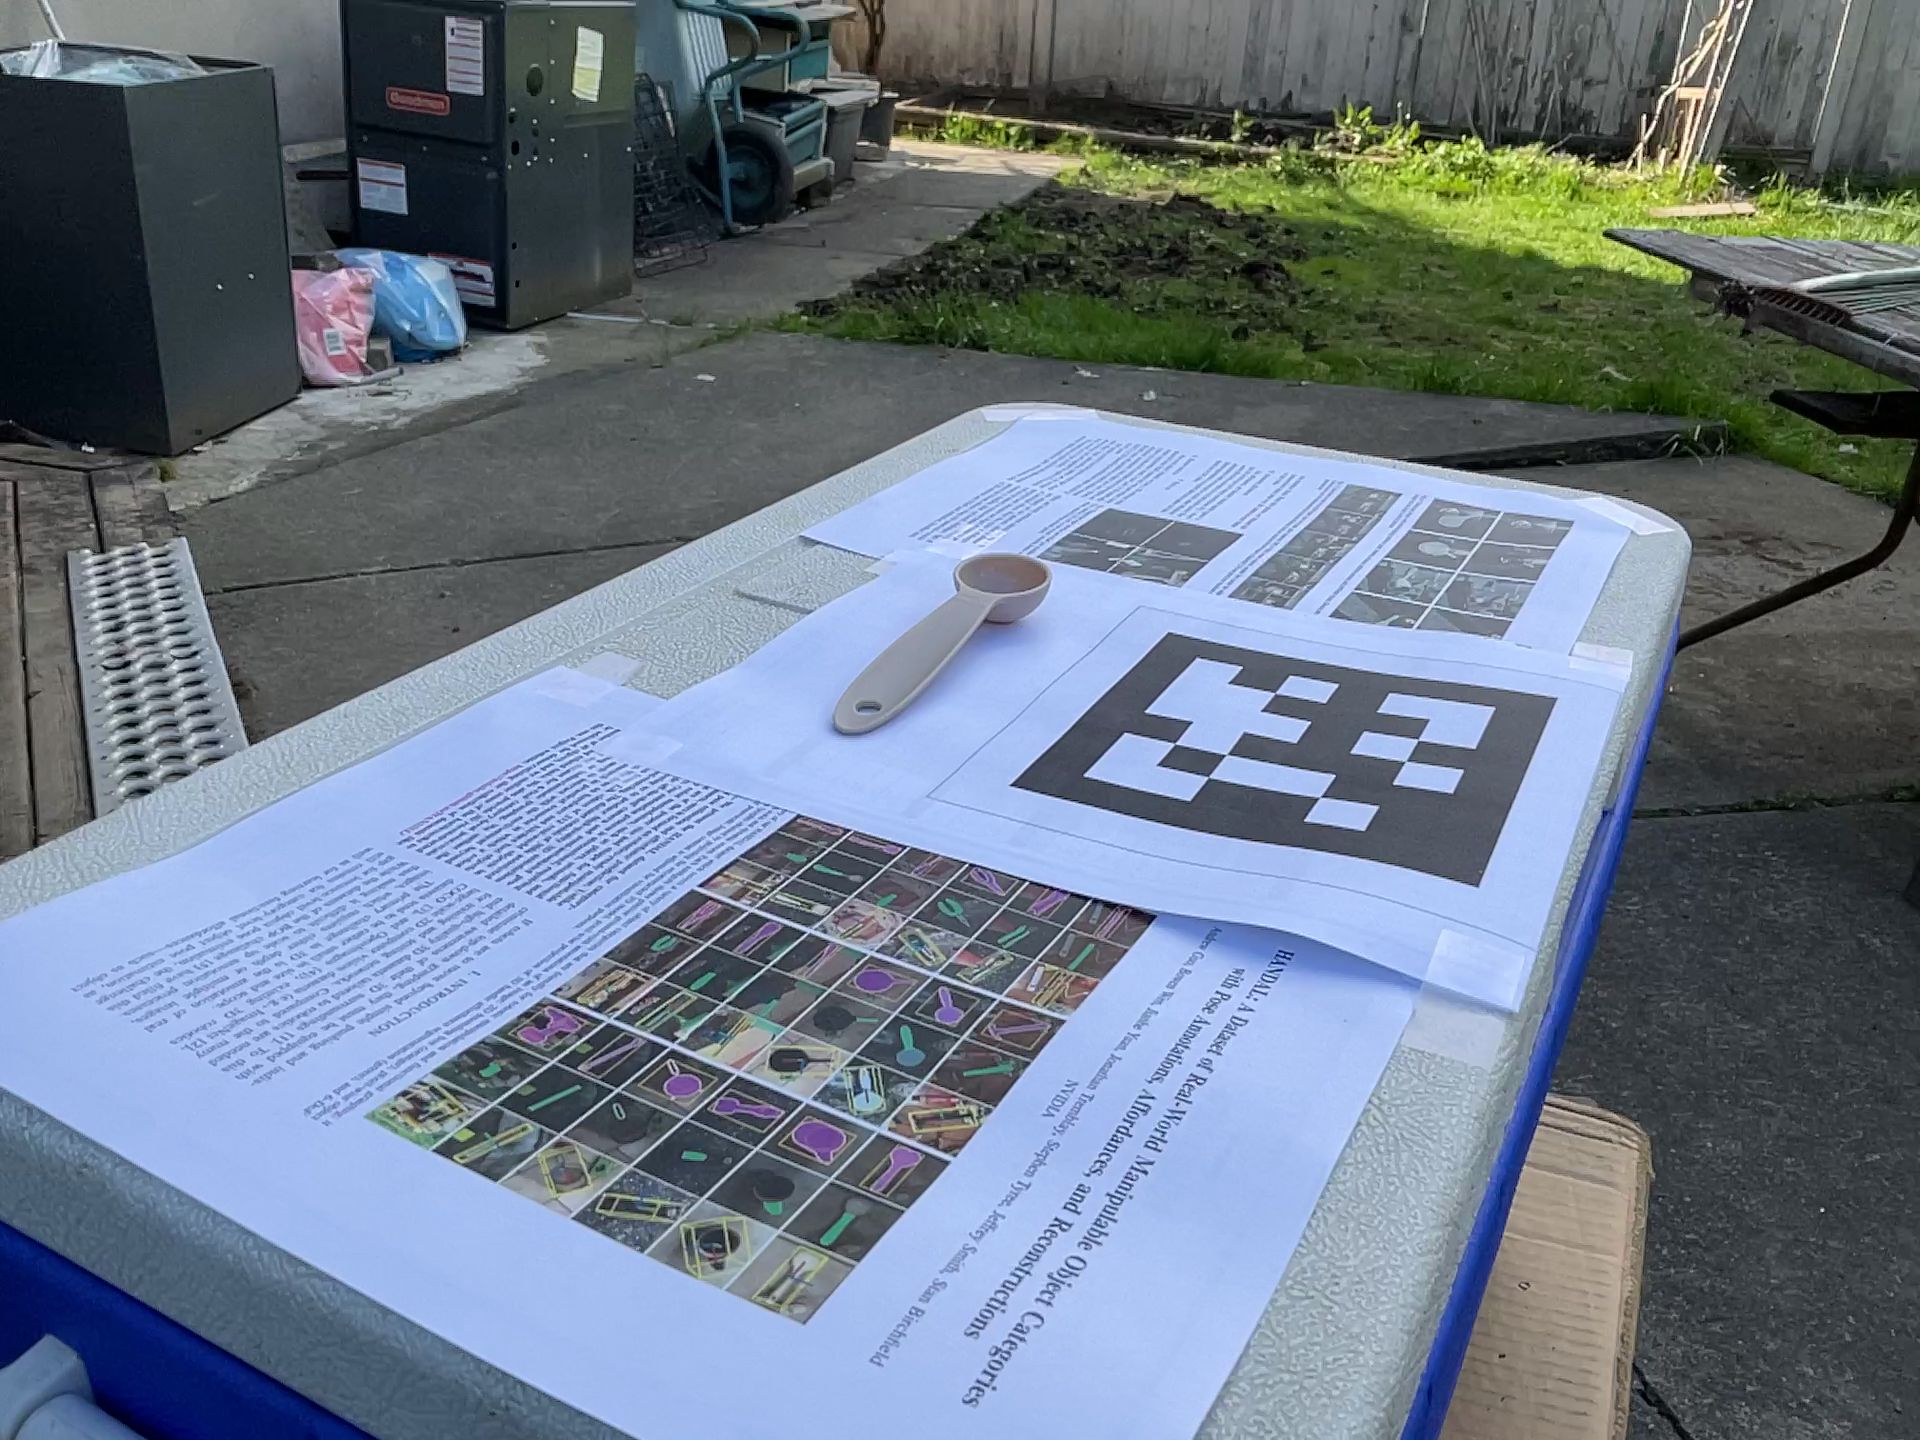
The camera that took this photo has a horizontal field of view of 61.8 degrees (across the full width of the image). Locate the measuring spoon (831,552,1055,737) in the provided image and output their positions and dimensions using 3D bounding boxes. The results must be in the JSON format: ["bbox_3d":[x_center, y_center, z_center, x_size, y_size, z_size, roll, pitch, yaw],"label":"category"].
[{"bbox_3d":[-0.006,-0.022,0.514,0.034,0.018,0.124,16,36,23],"label":"measuring spoon"}]
